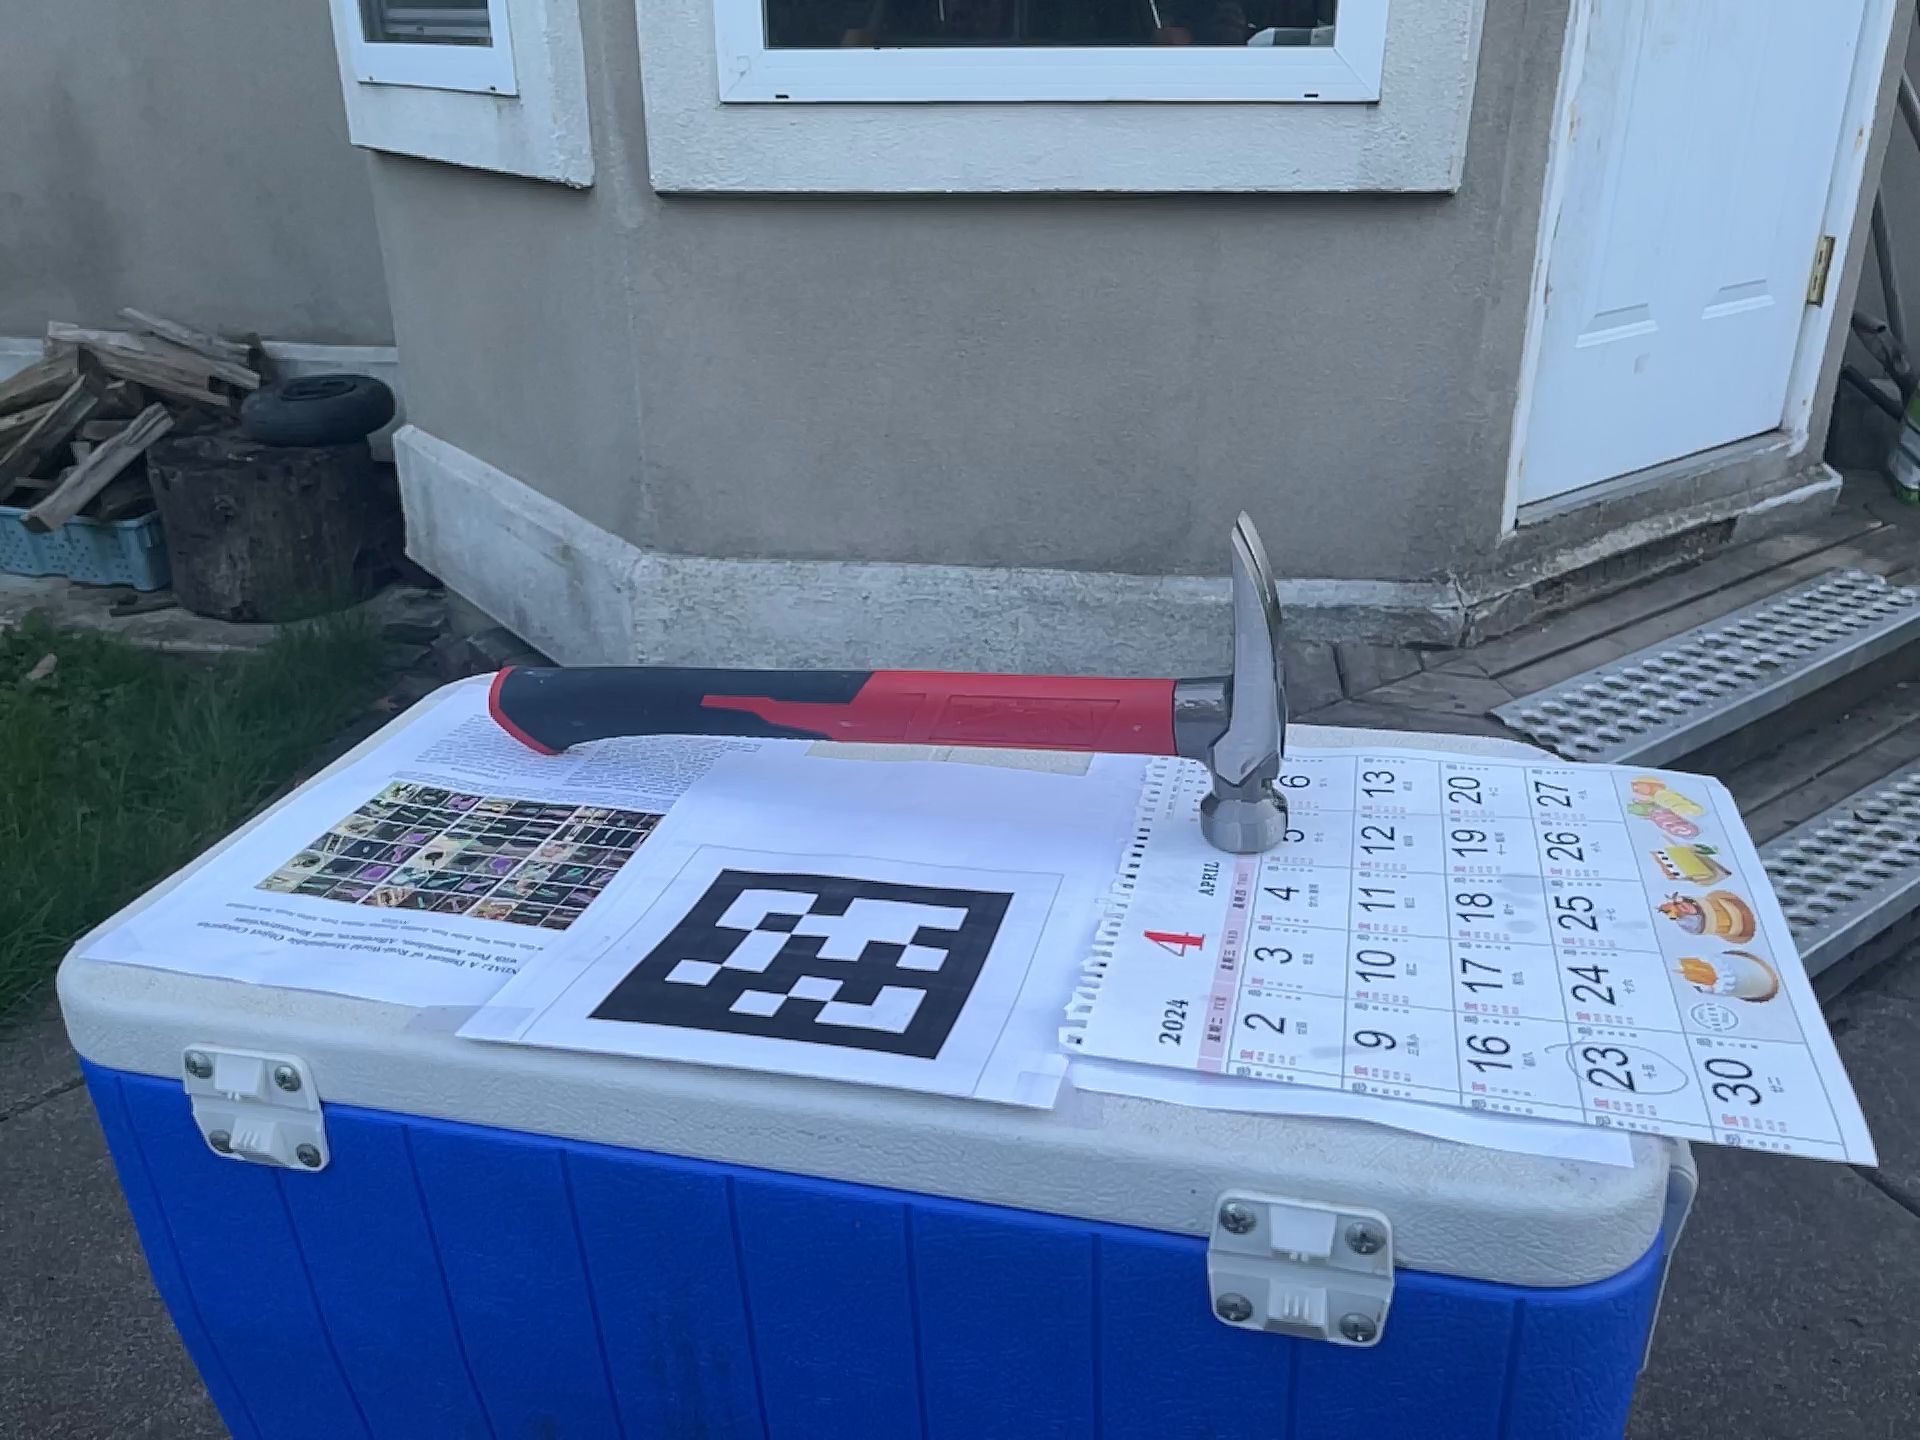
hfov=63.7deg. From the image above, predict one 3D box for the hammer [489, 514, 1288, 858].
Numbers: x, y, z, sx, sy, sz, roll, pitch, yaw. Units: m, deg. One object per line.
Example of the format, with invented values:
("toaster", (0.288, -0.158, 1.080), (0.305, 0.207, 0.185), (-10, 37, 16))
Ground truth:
("hammer", (-0.048, -0.019, 0.703), (0.386, 0.143, 0.038), (2, 25, 20))
